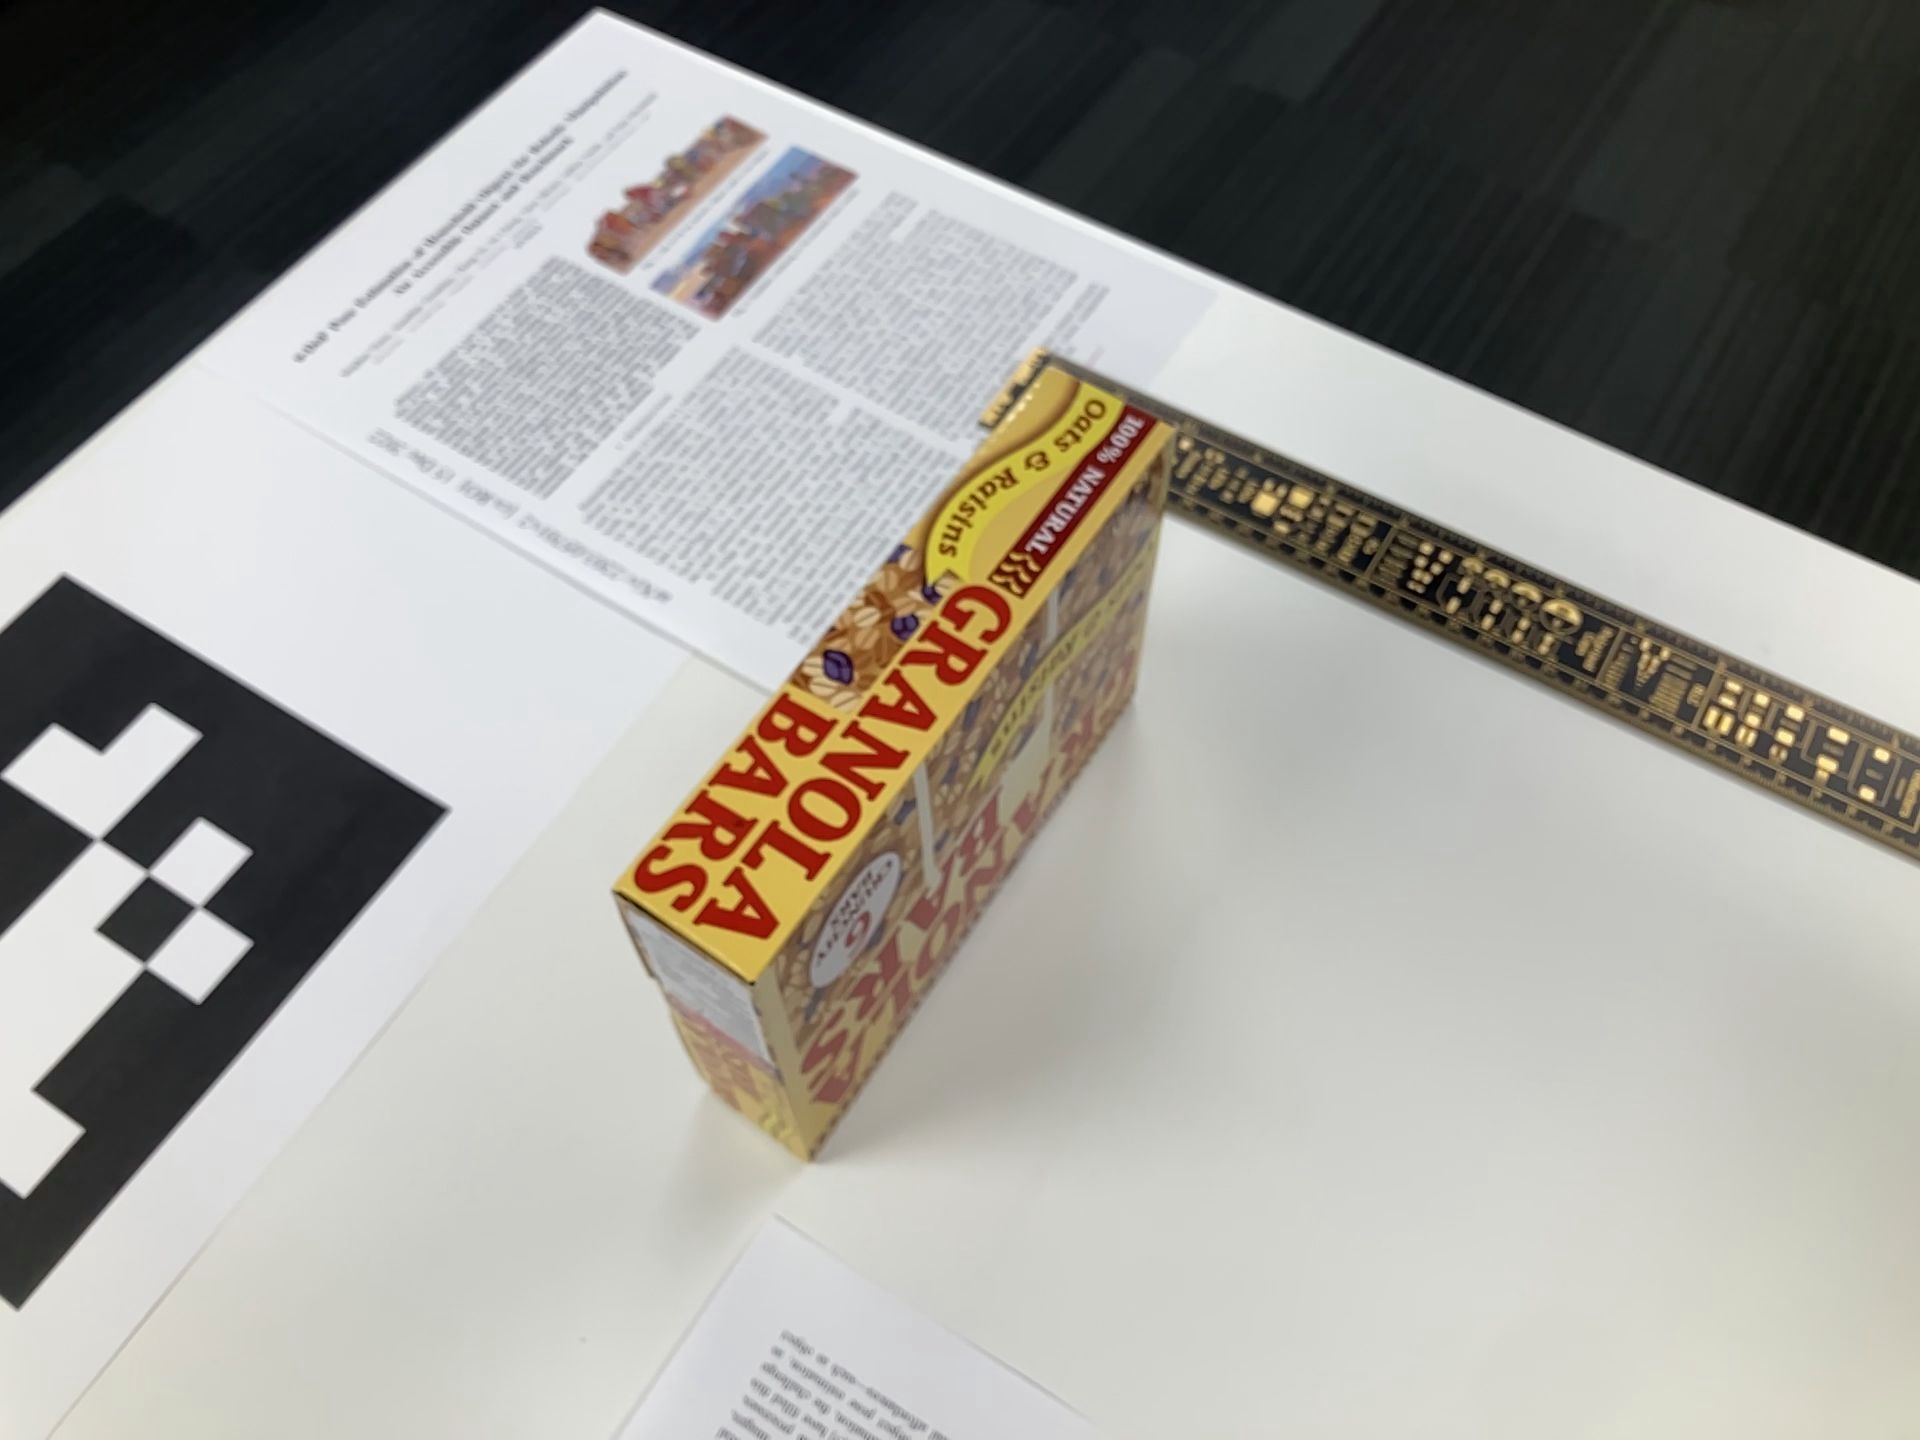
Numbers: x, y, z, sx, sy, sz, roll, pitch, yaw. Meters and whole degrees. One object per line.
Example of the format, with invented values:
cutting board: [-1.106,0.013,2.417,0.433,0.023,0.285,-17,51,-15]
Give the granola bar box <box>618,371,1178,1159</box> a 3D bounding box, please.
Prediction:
granola bar box: [-0.009,0.013,0.398,0.039,0.124,0.165,29,64,17]
